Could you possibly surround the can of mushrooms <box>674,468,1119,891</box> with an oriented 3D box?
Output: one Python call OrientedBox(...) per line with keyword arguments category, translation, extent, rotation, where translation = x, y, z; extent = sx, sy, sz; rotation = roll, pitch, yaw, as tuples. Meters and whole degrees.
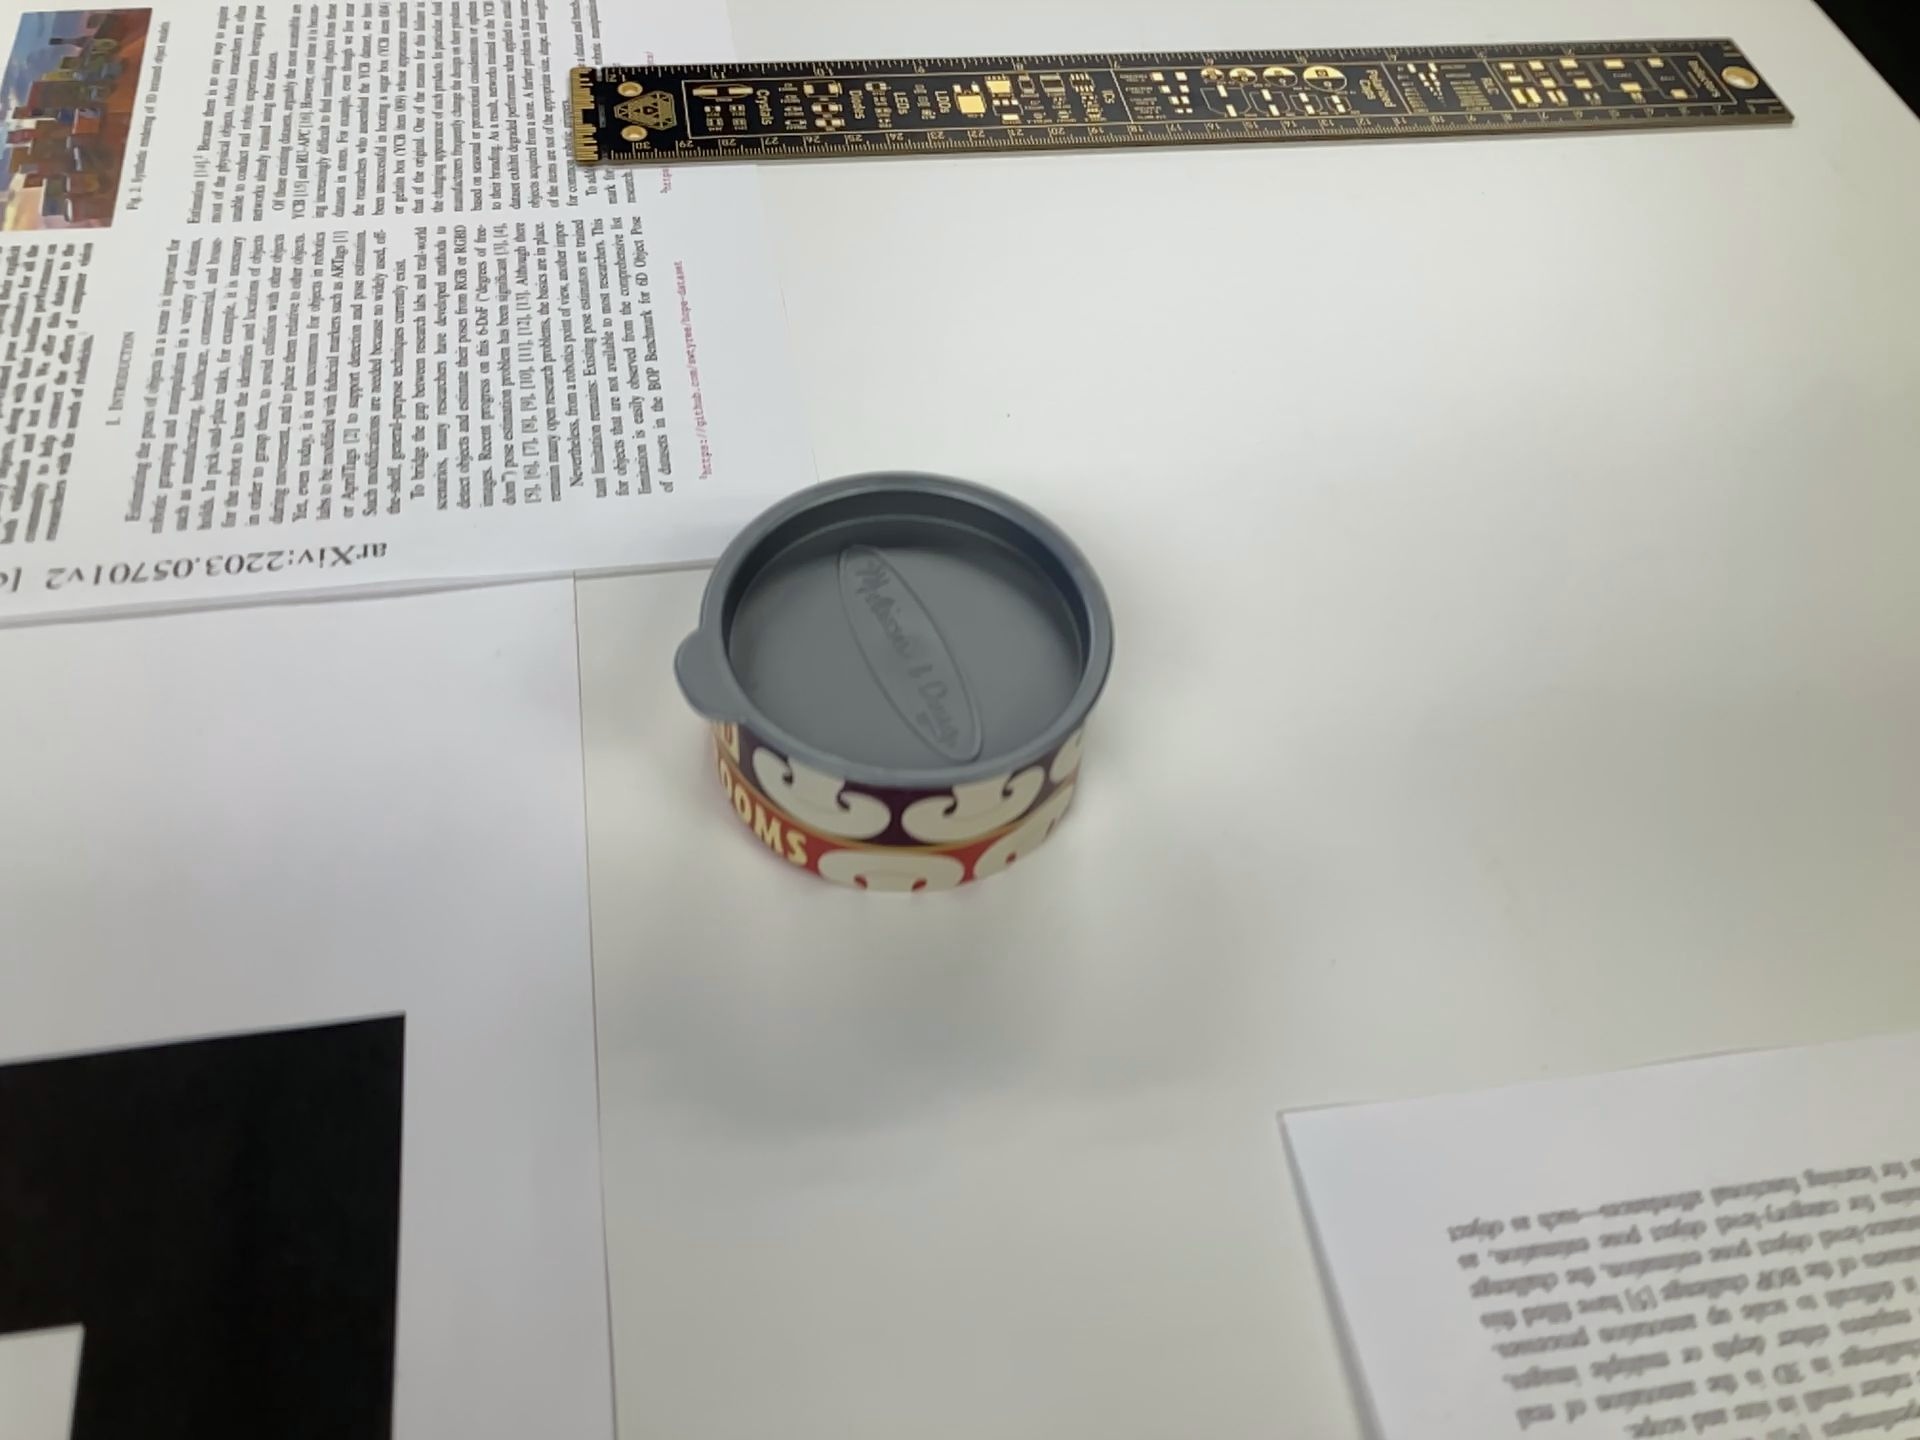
OrientedBox(category="can of mushrooms", translation=(-0.011, -0.007, 0.263), extent=(0.071, 0.033, 0.071), rotation=(3, 54, -4))
